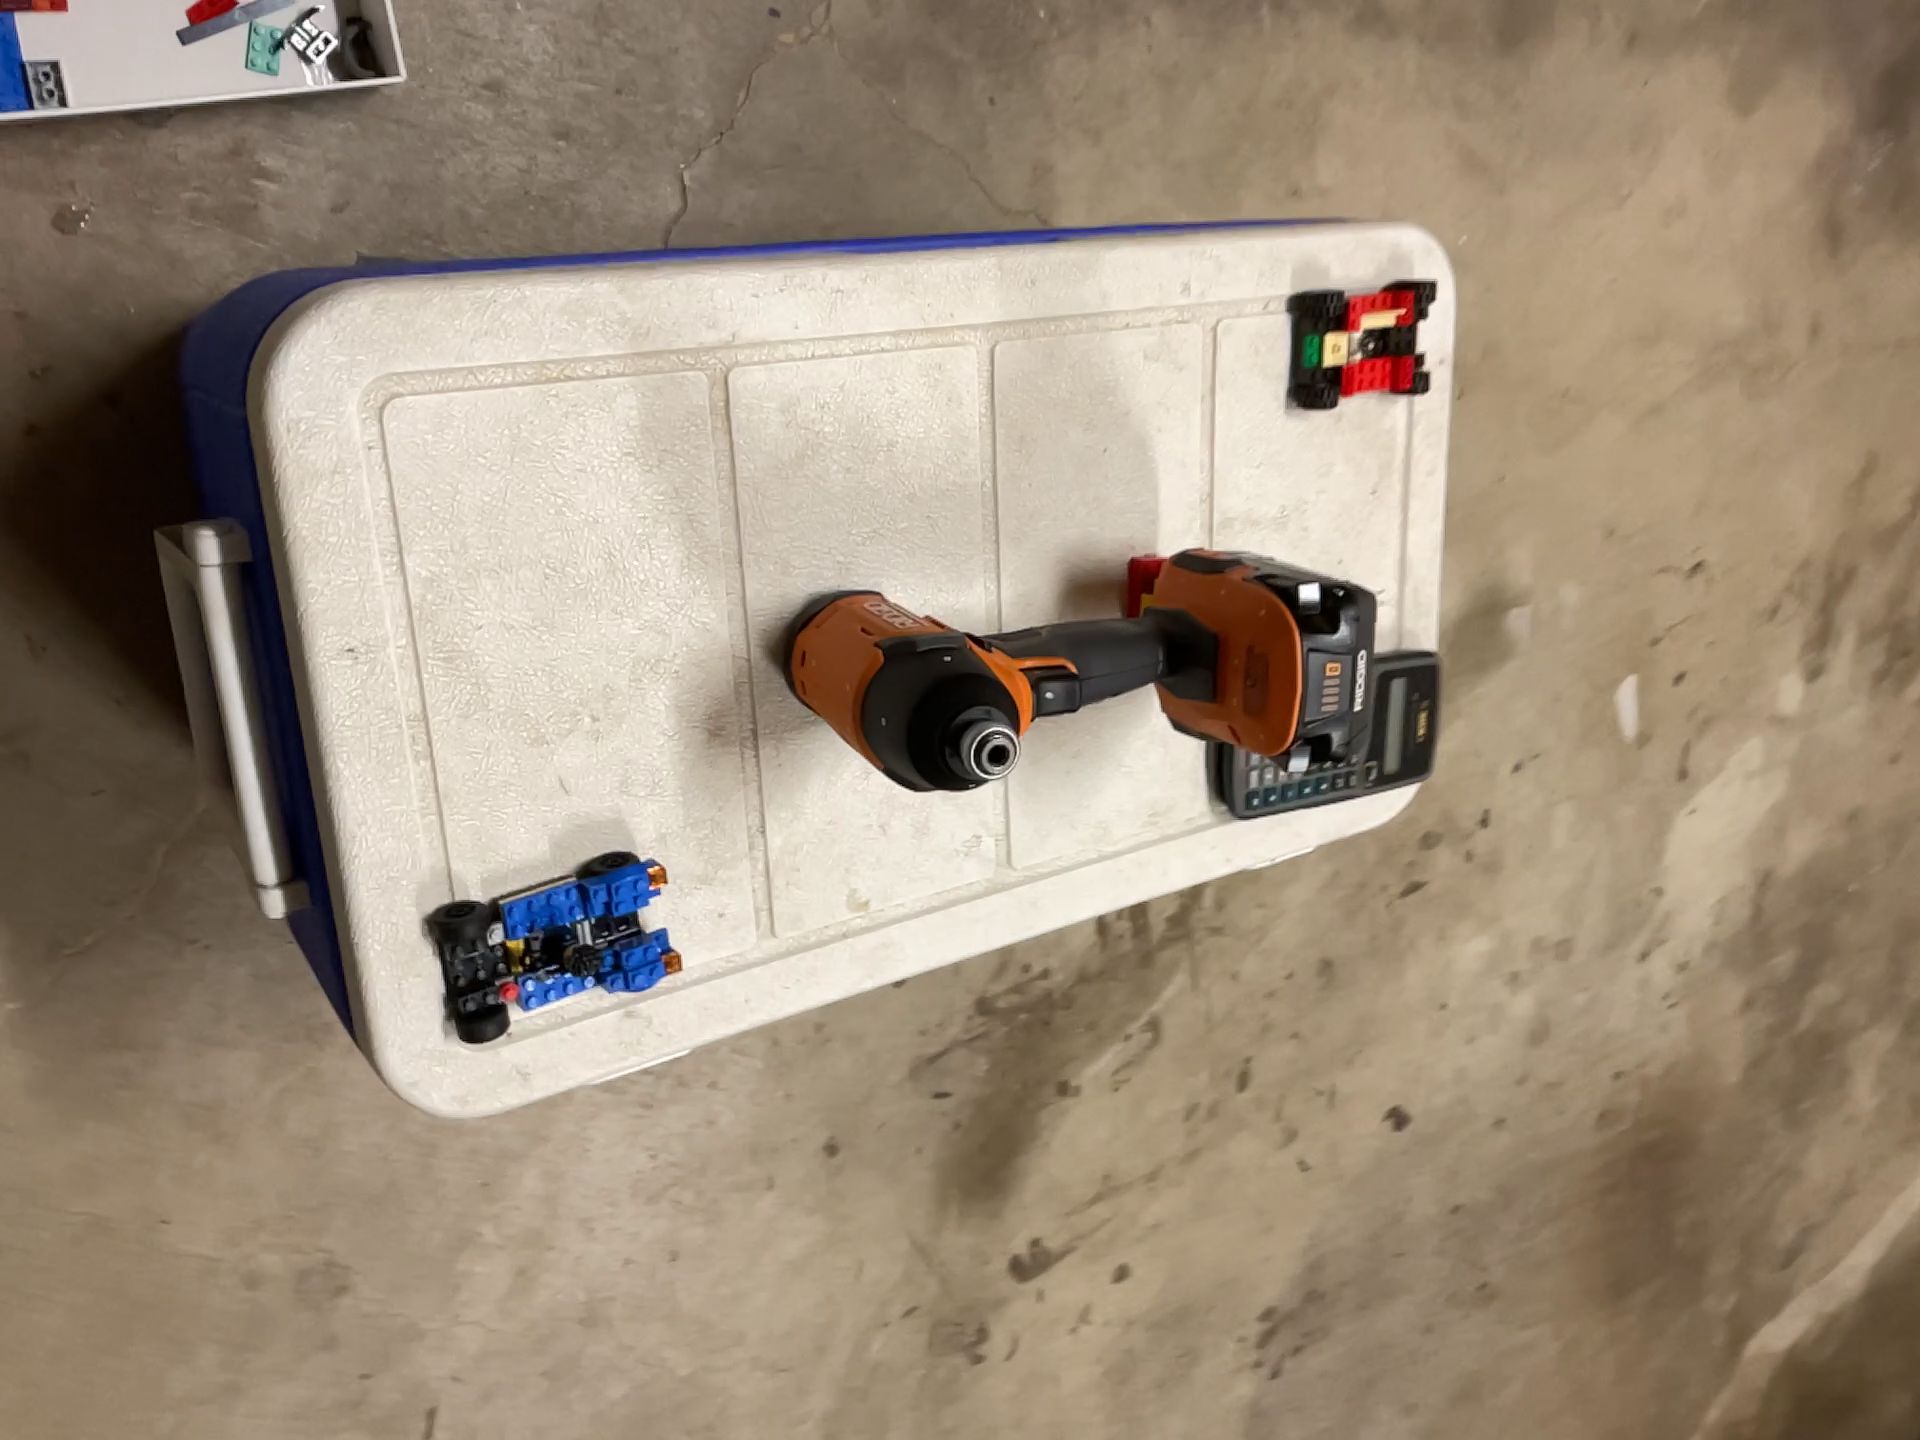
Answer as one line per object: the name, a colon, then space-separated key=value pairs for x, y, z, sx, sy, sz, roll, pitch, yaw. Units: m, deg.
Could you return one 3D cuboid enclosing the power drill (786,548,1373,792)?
power drill: x=0.057 y=-0.017 z=0.670 sx=0.227 sy=0.164 sz=0.084 roll=-6 pitch=108 yaw=-21
